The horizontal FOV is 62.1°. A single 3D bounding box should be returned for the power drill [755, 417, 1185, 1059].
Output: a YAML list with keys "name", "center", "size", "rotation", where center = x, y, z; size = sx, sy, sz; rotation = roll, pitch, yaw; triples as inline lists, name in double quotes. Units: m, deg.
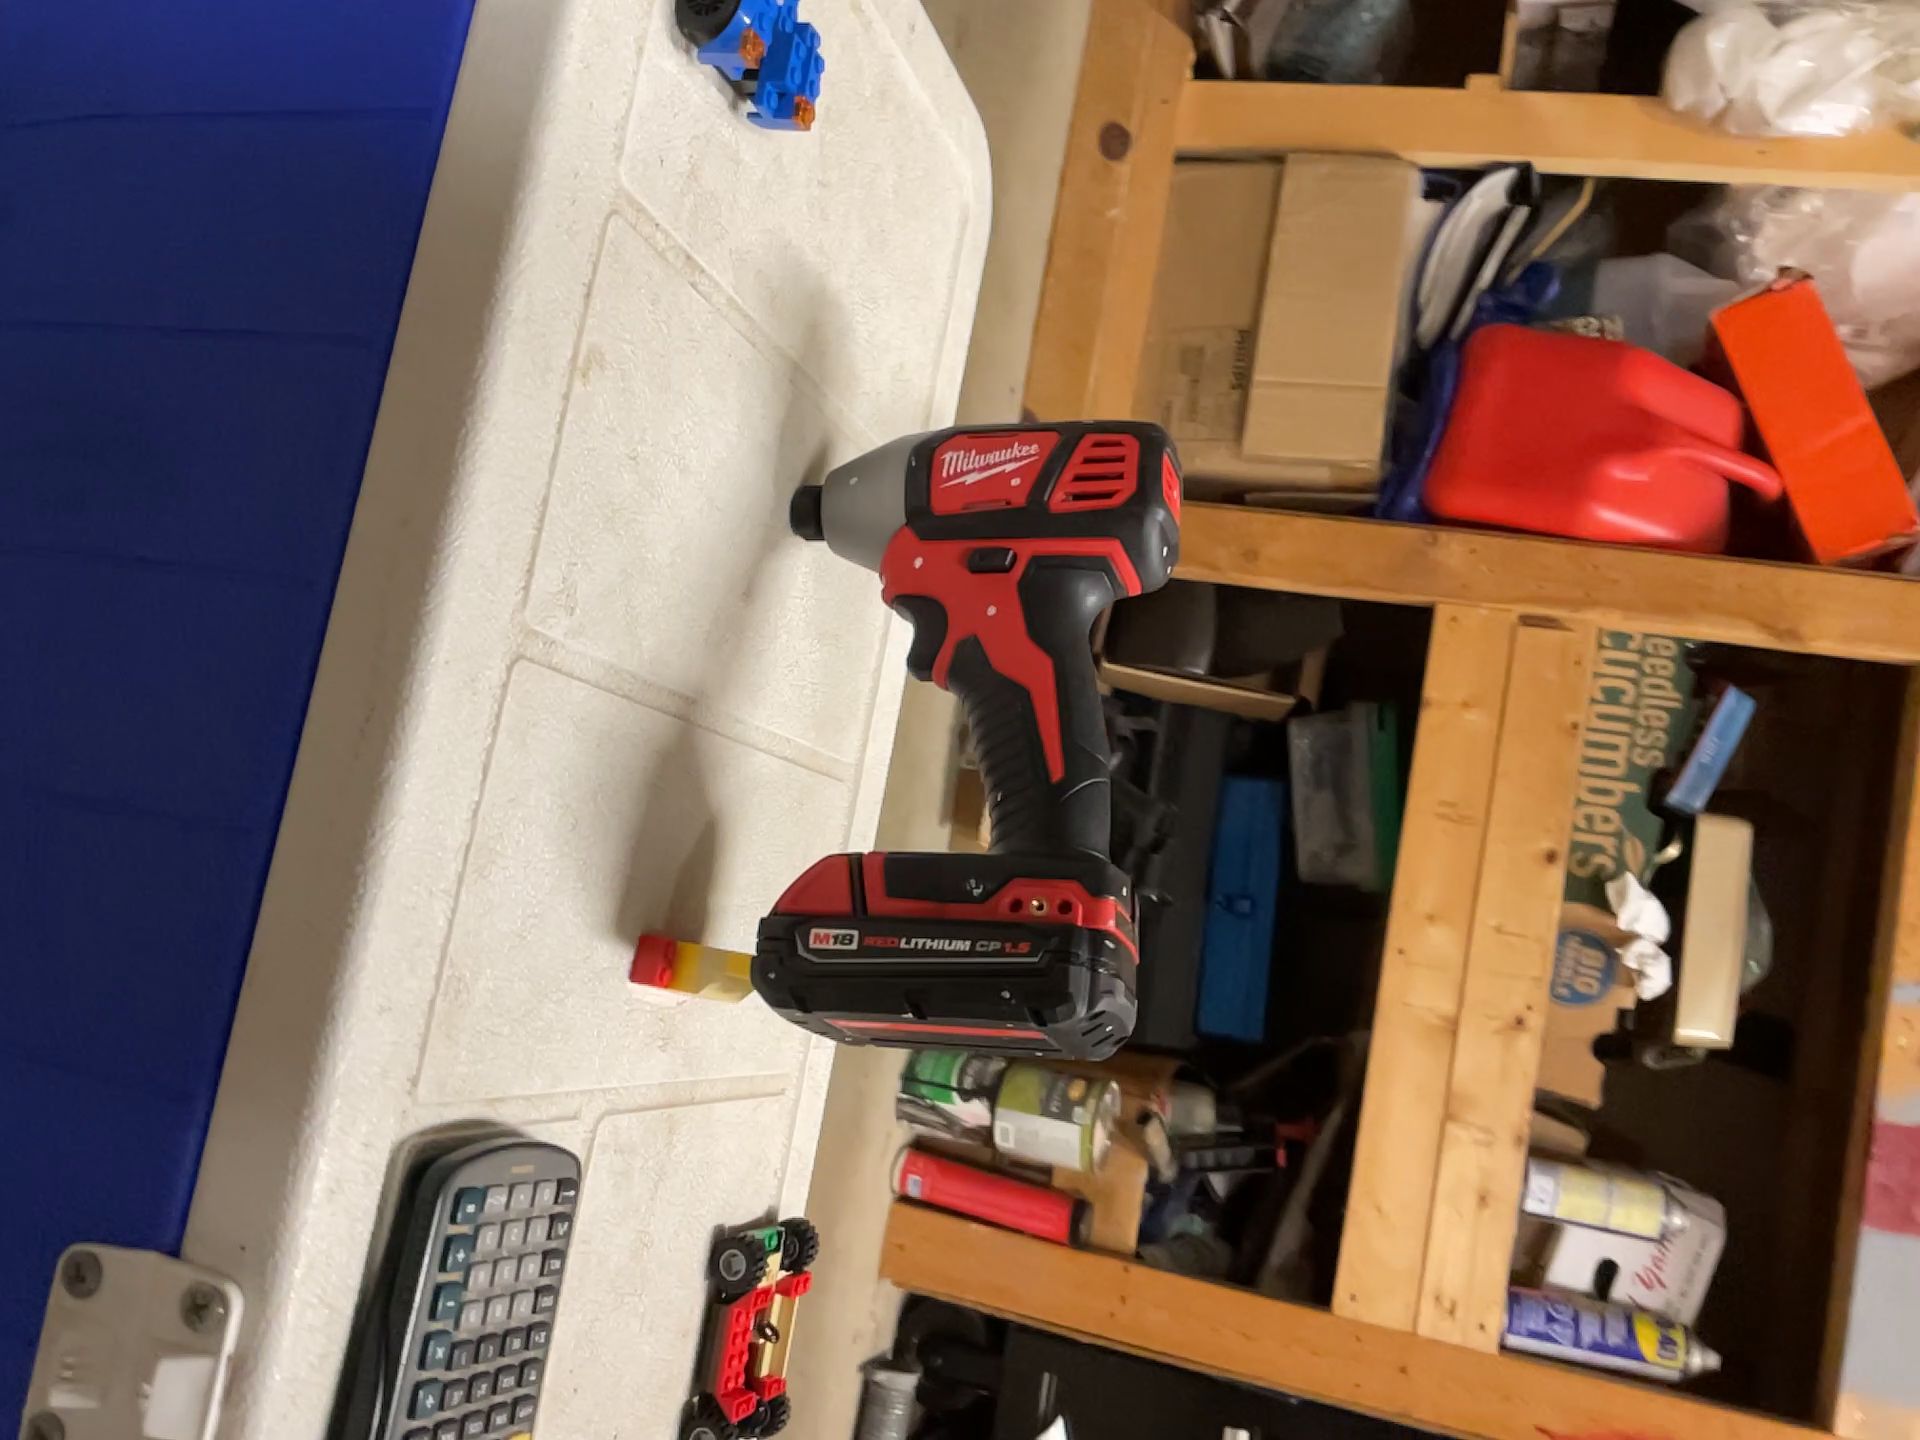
- name: "power drill"
  center: [0.000, -0.002, 0.550]
  size: [0.078, 0.143, 0.220]
  rotation: [56, 38, -66]
